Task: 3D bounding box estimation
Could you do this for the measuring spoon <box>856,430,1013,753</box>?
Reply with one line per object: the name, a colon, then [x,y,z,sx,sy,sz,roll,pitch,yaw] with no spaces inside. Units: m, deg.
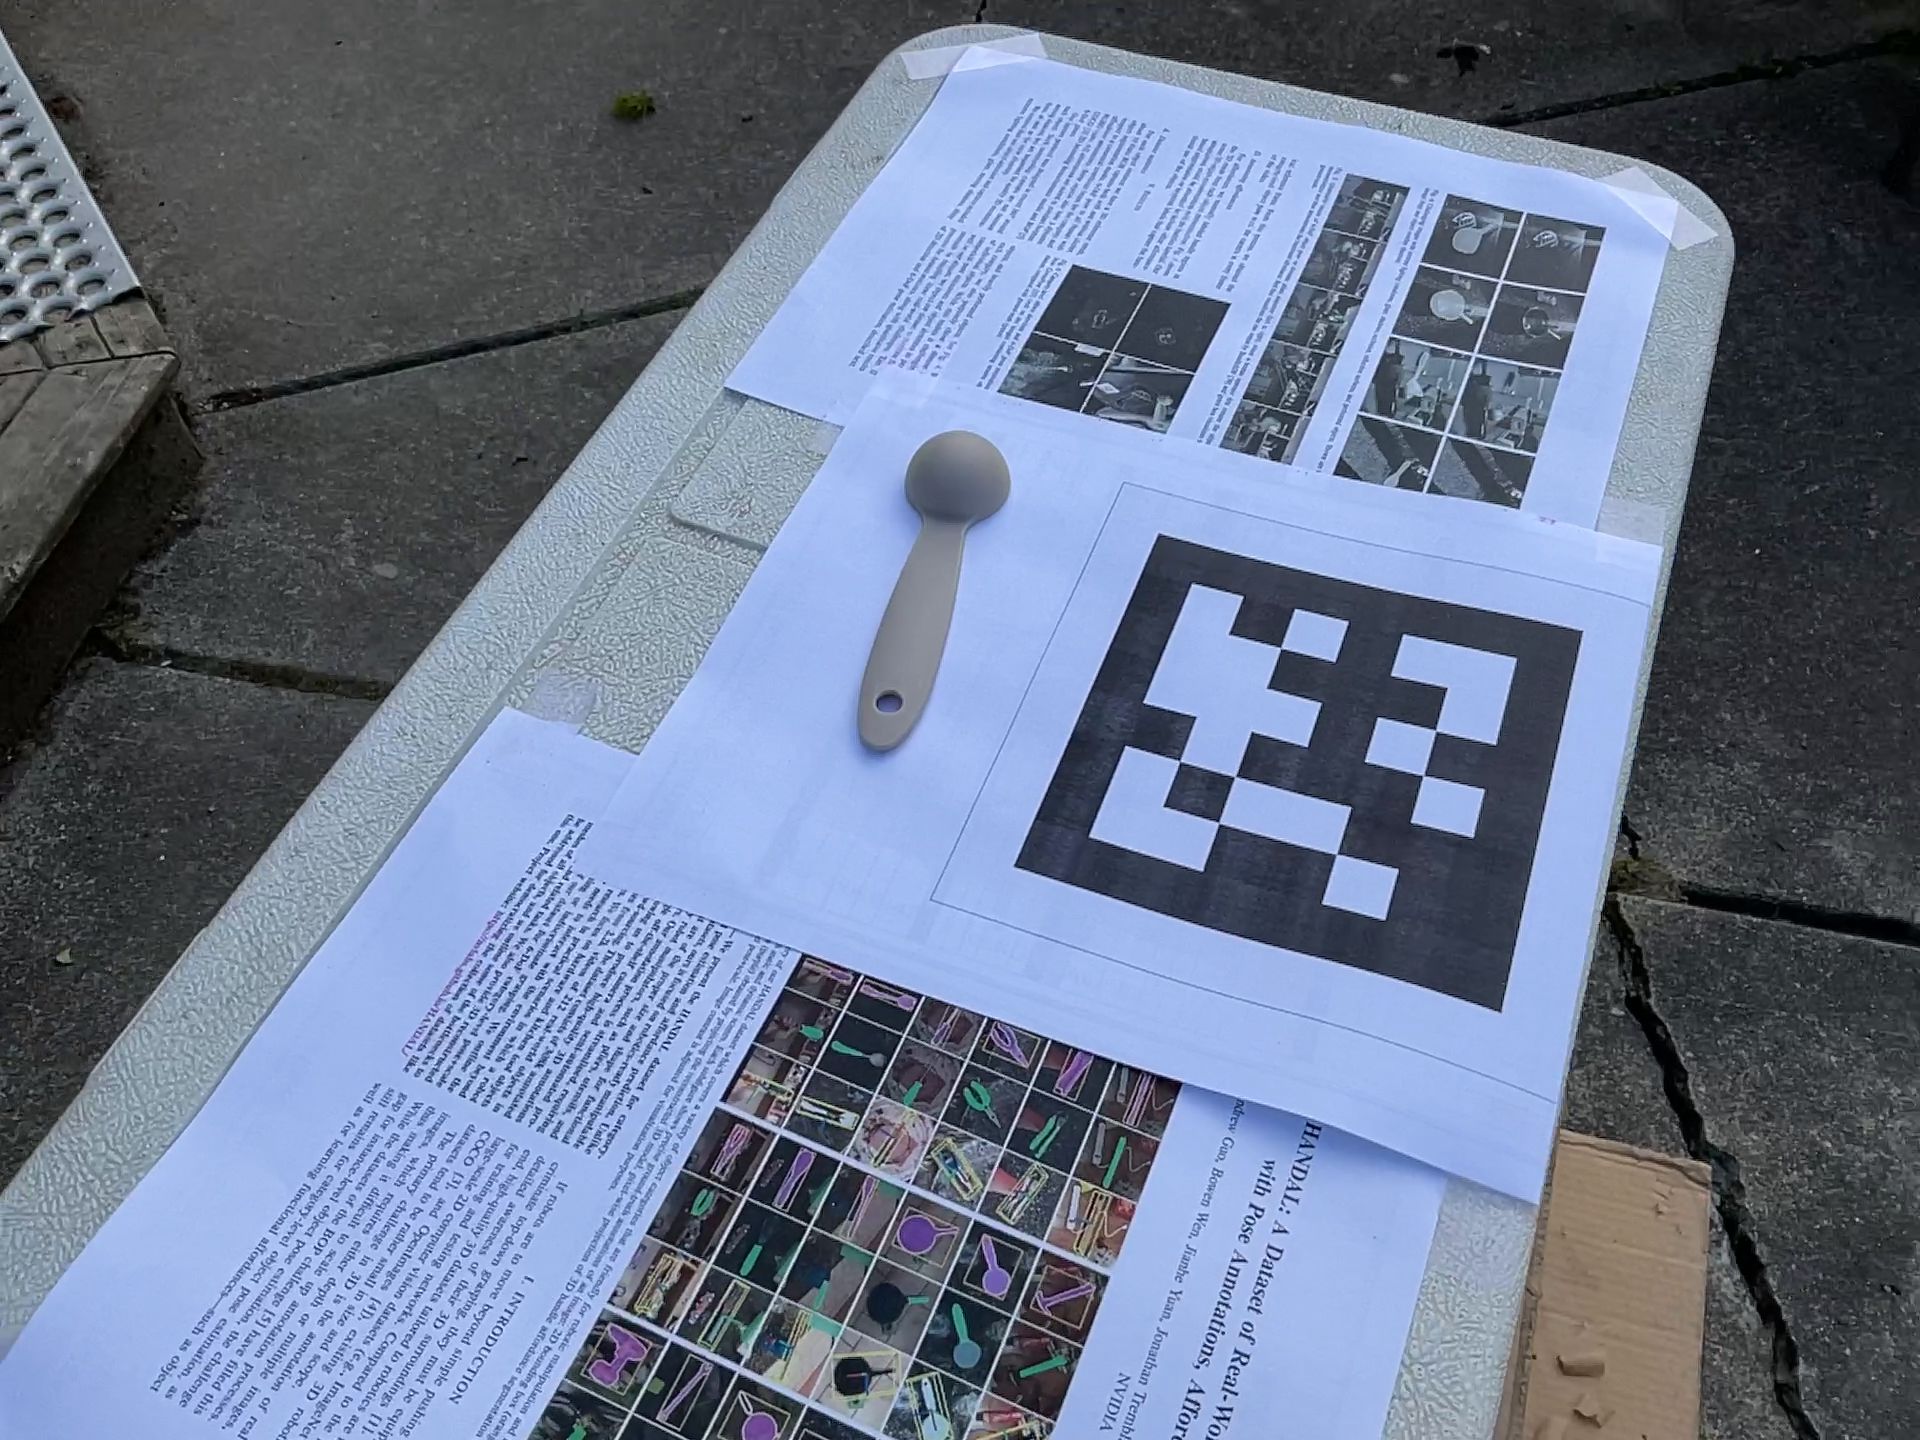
measuring spoon: [-0.010,-0.044,0.473,0.034,0.018,0.124,9,54,8]
